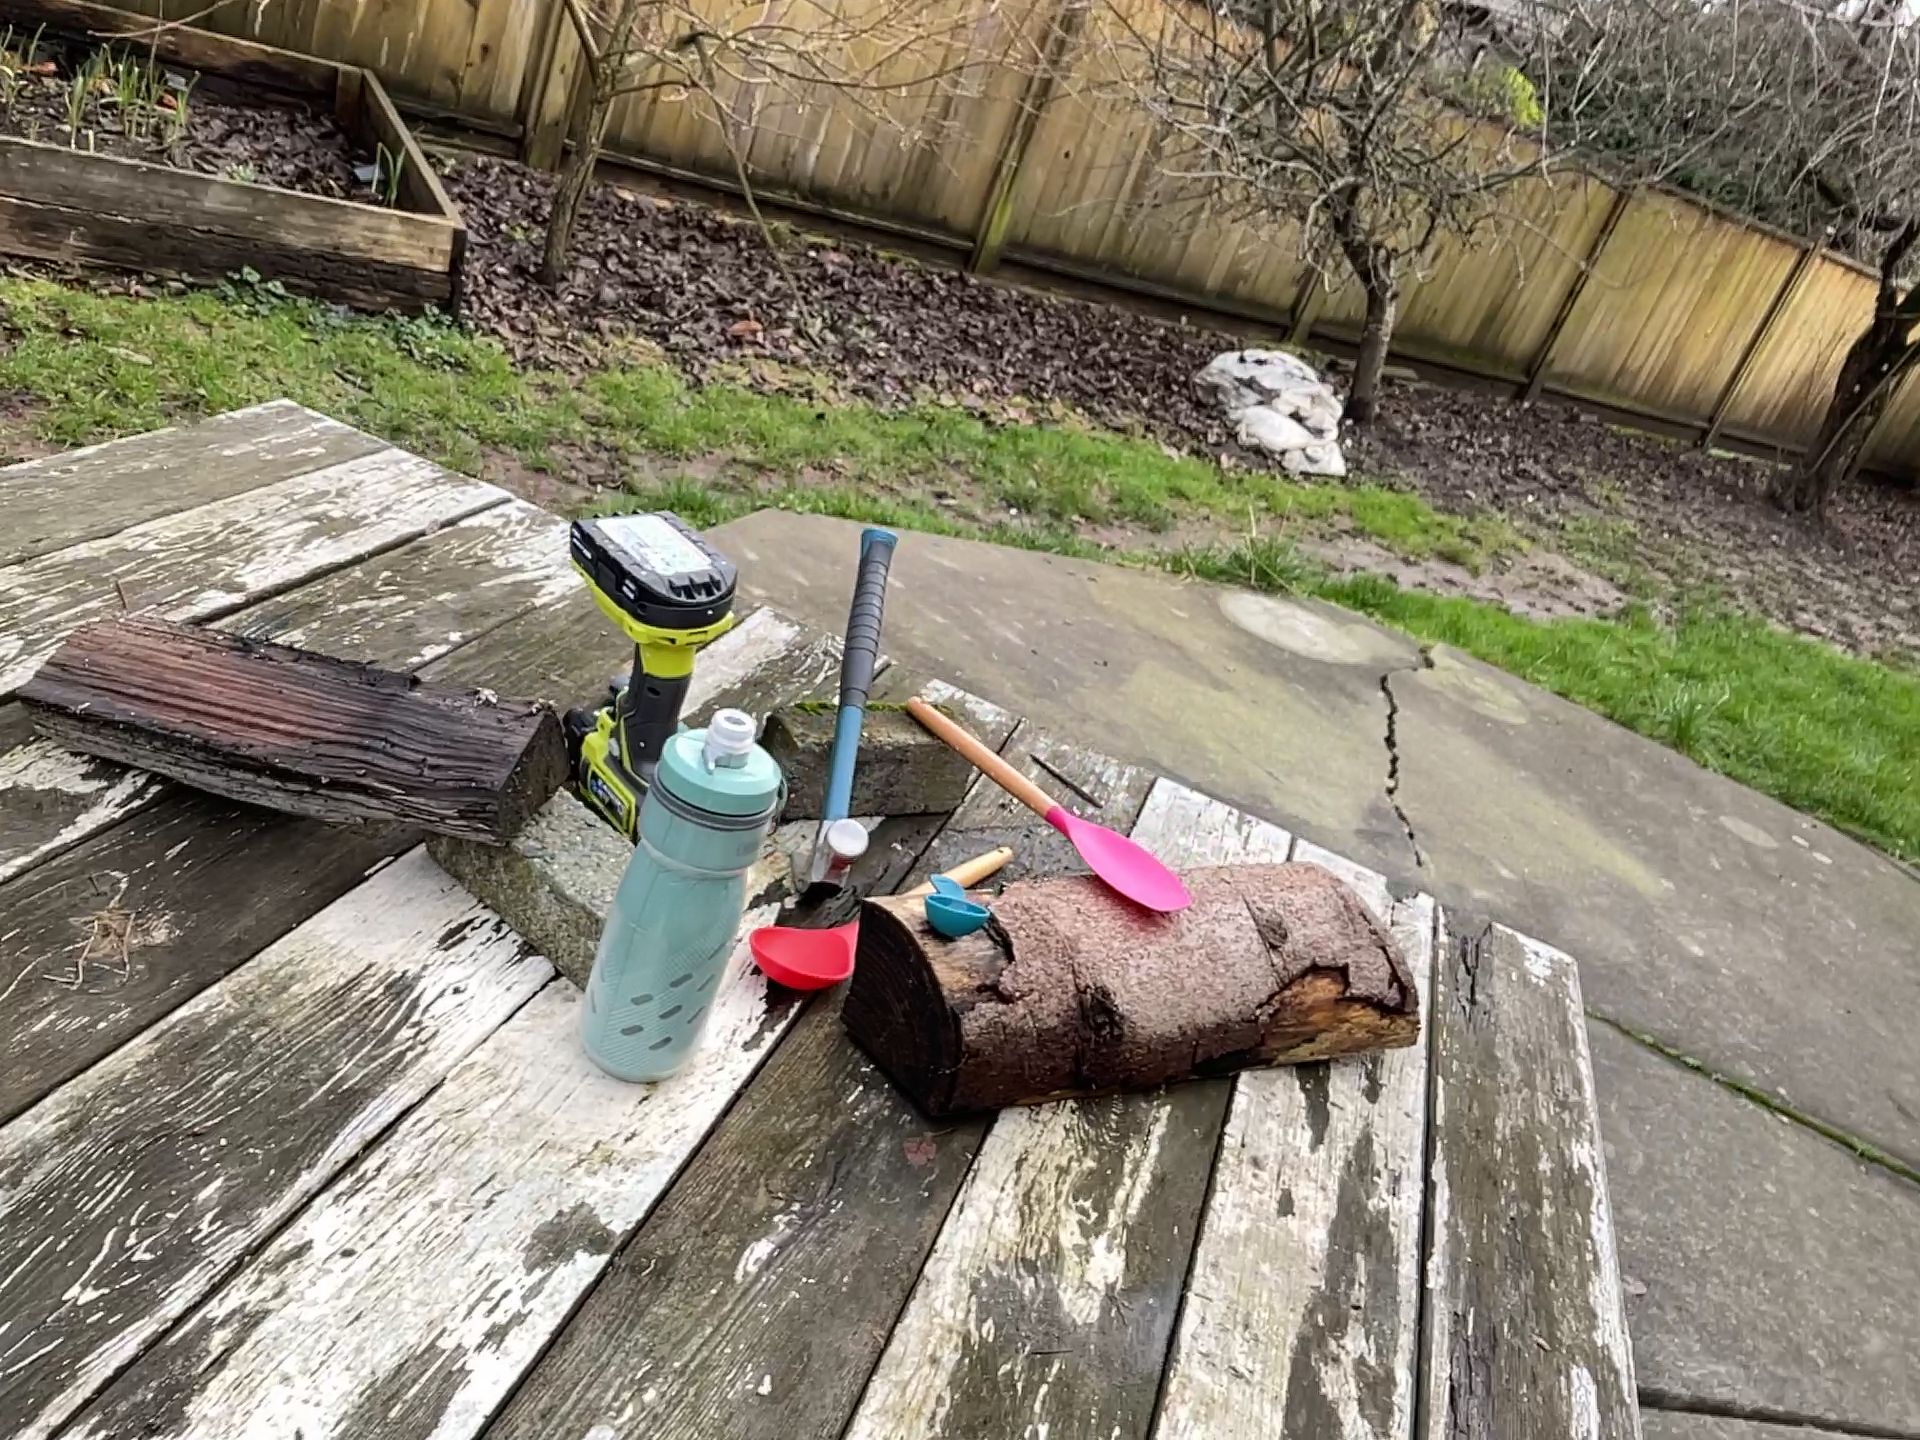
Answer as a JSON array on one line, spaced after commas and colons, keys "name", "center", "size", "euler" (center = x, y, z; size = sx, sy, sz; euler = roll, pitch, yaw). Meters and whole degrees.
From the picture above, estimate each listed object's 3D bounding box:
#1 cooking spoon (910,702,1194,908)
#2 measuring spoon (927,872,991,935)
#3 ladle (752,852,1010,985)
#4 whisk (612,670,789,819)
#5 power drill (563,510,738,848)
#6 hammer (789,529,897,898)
[{"name": "cooking spoon", "center": [0.058, 0.061, 1.223], "size": [0.068, 0.017, 0.319], "euler": [-4, 29, -40]}, {"name": "measuring spoon", "center": [-0.008, 0.122, 1.056], "size": [0.042, 0.021, 0.129], "euler": [16, 3, -8]}, {"name": "ladle", "center": [-0.046, 0.139, 1.178], "size": [0.069, 0.031, 0.315], "euler": [29, 23, 24]}, {"name": "whisk", "center": [-0.213, 0.016, 1.271], "size": [0.055, 0.055, 0.239], "euler": [5, 24, -47]}, {"name": "power drill", "center": [-0.235, -0.030, 1.153], "size": [0.080, 0.223, 0.171], "euler": [-12, 38, -38]}, {"name": "hammer", "center": [-0.083, -0.015, 1.231], "size": [0.033, 0.128, 0.331], "euler": [16, 56, -14]}]
